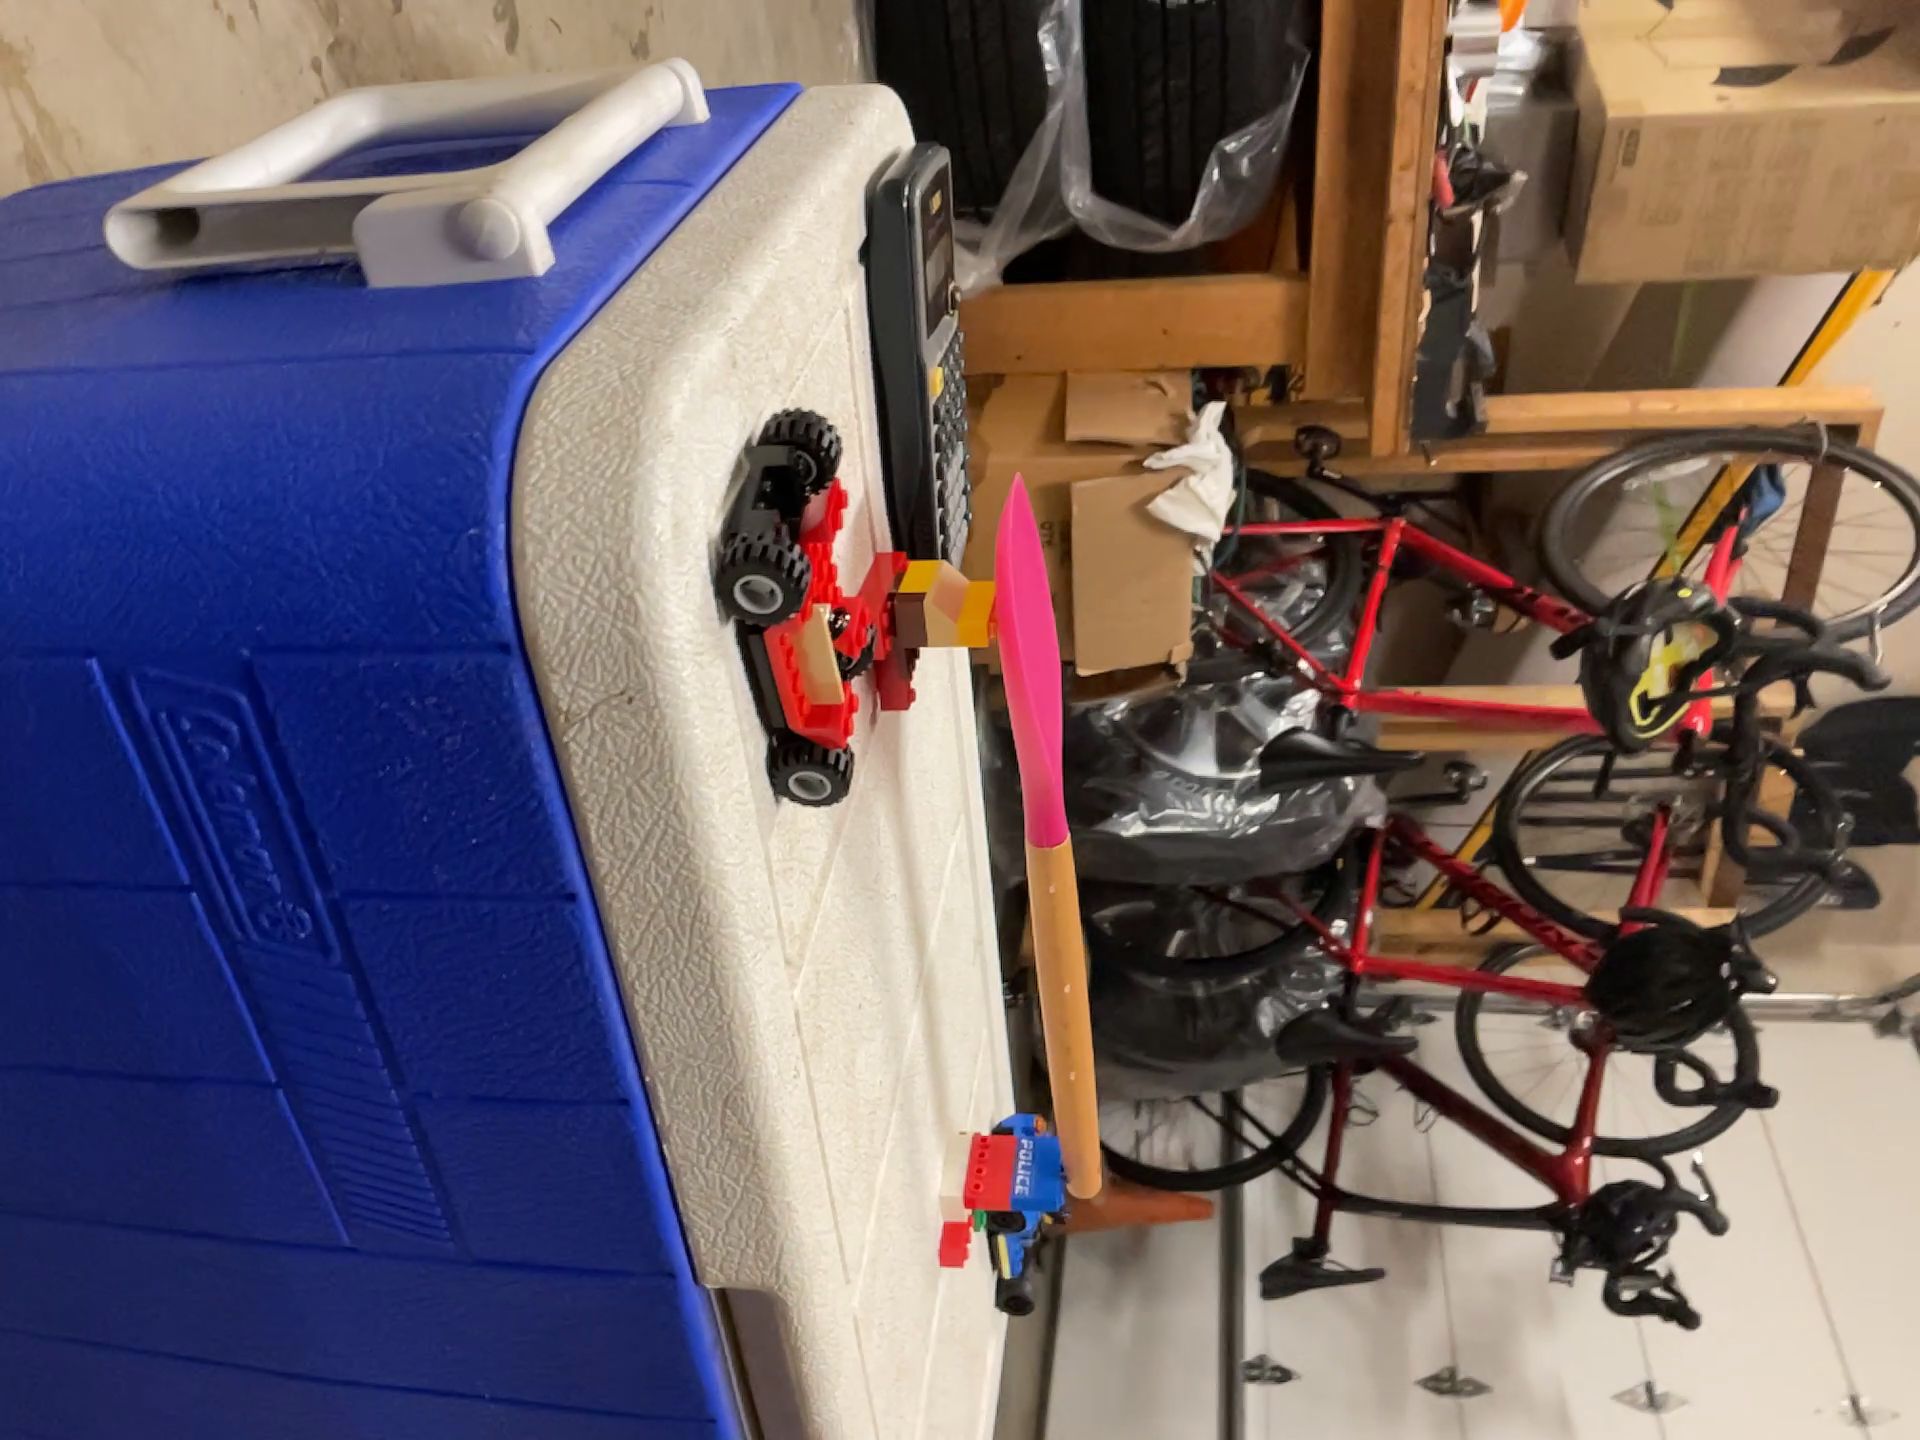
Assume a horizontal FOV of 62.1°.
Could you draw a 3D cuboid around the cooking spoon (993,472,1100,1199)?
[{"bbox_3d":[0.032,0.062,0.570,0.069,0.017,0.318,-77,162,-55],"label":"cooking spoon"}]
